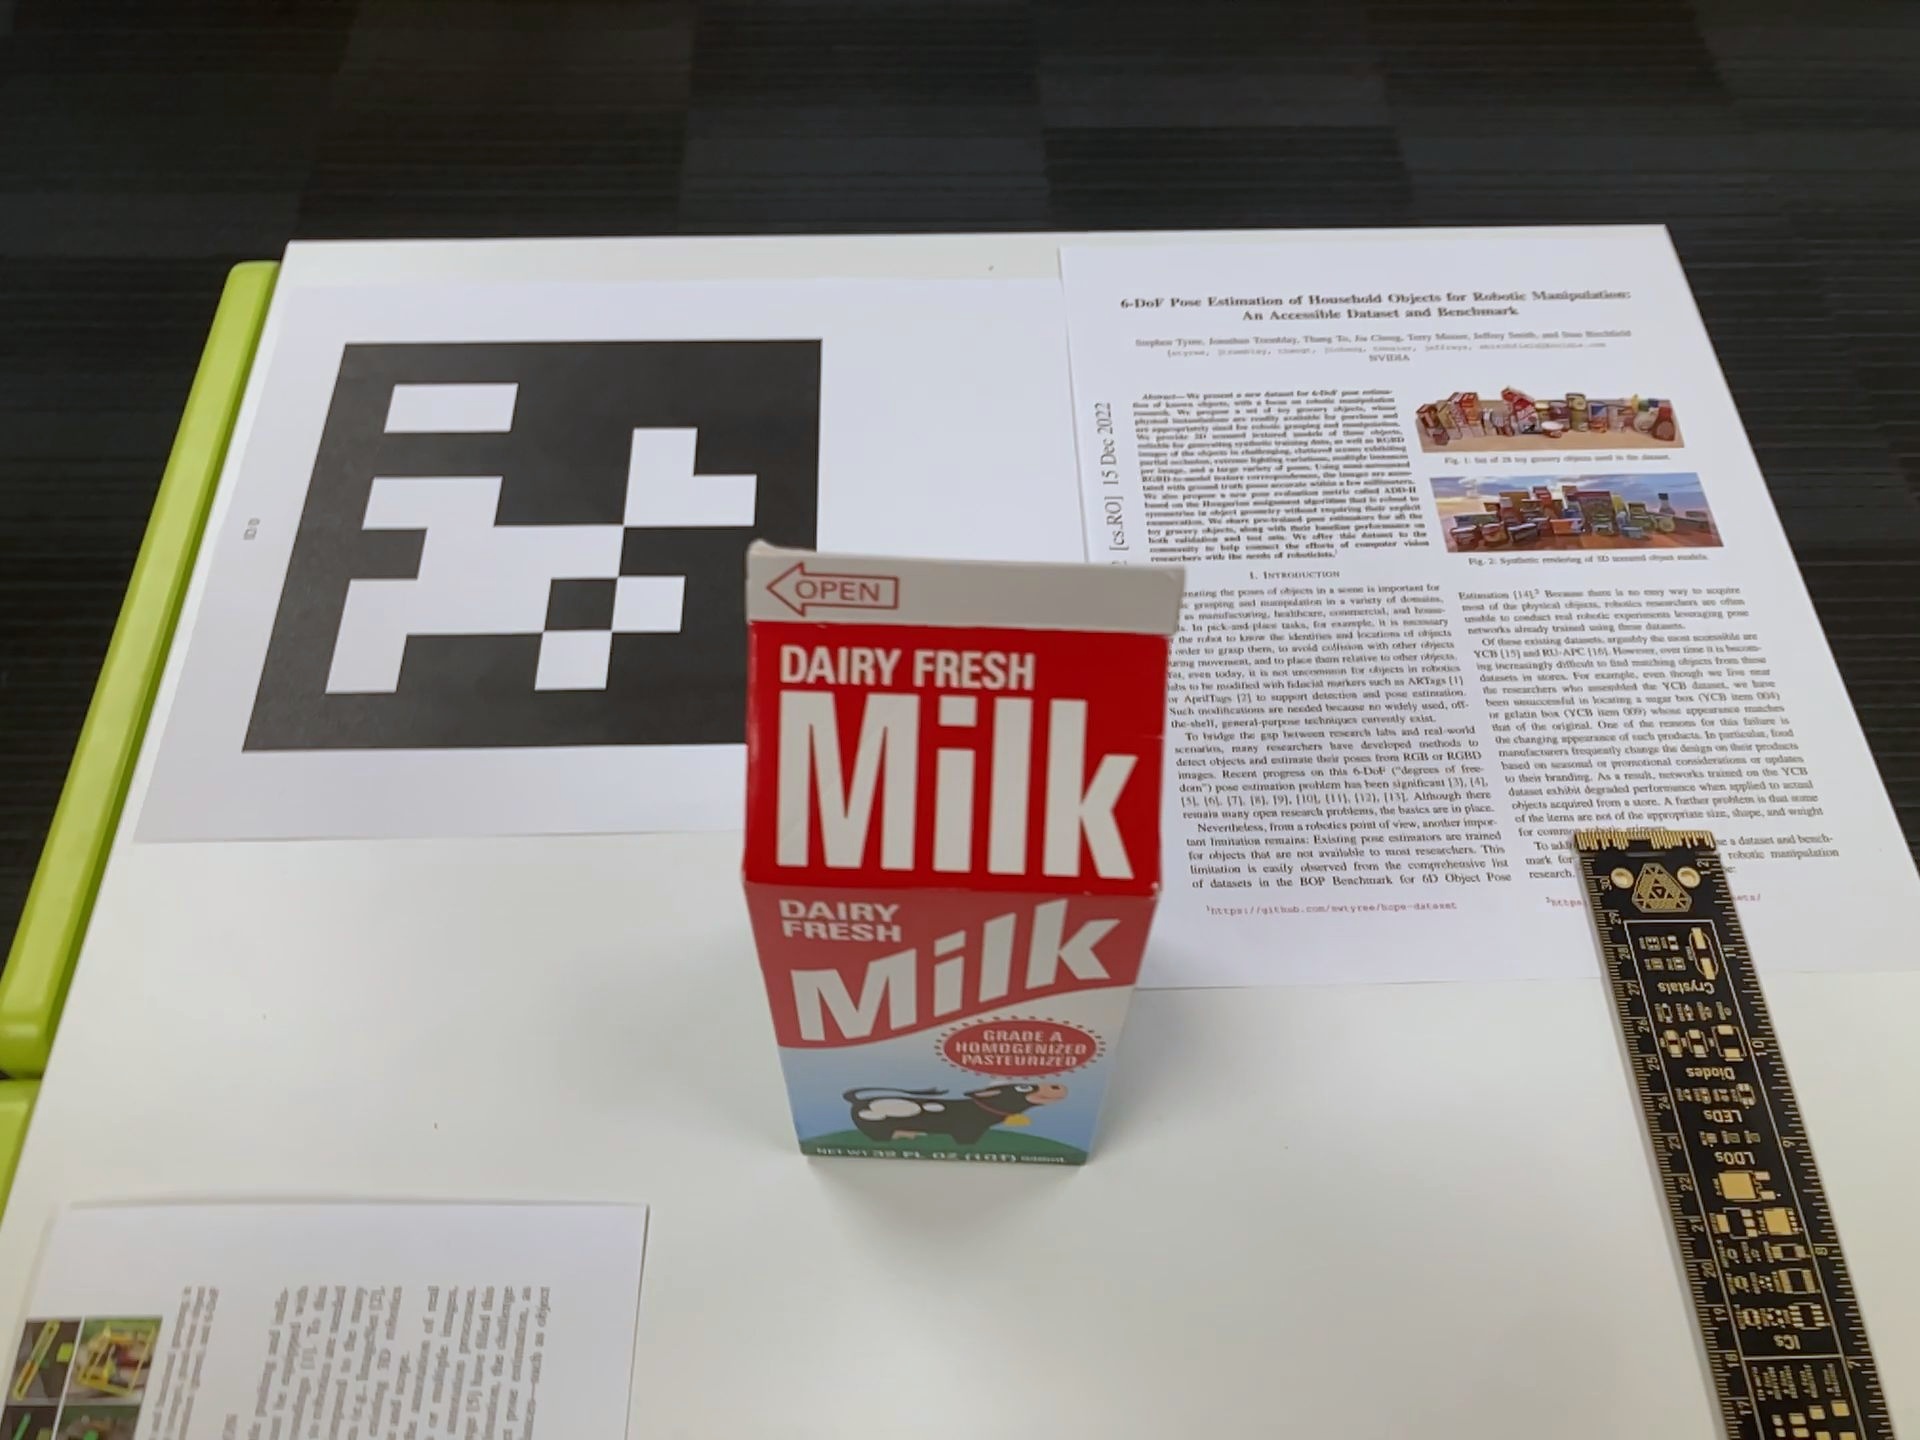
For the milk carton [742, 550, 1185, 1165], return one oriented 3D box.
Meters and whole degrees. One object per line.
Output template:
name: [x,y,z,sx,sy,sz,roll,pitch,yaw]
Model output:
milk carton: [-0.001,0.027,0.327,0.072,0.190,0.073,3,58,0]
